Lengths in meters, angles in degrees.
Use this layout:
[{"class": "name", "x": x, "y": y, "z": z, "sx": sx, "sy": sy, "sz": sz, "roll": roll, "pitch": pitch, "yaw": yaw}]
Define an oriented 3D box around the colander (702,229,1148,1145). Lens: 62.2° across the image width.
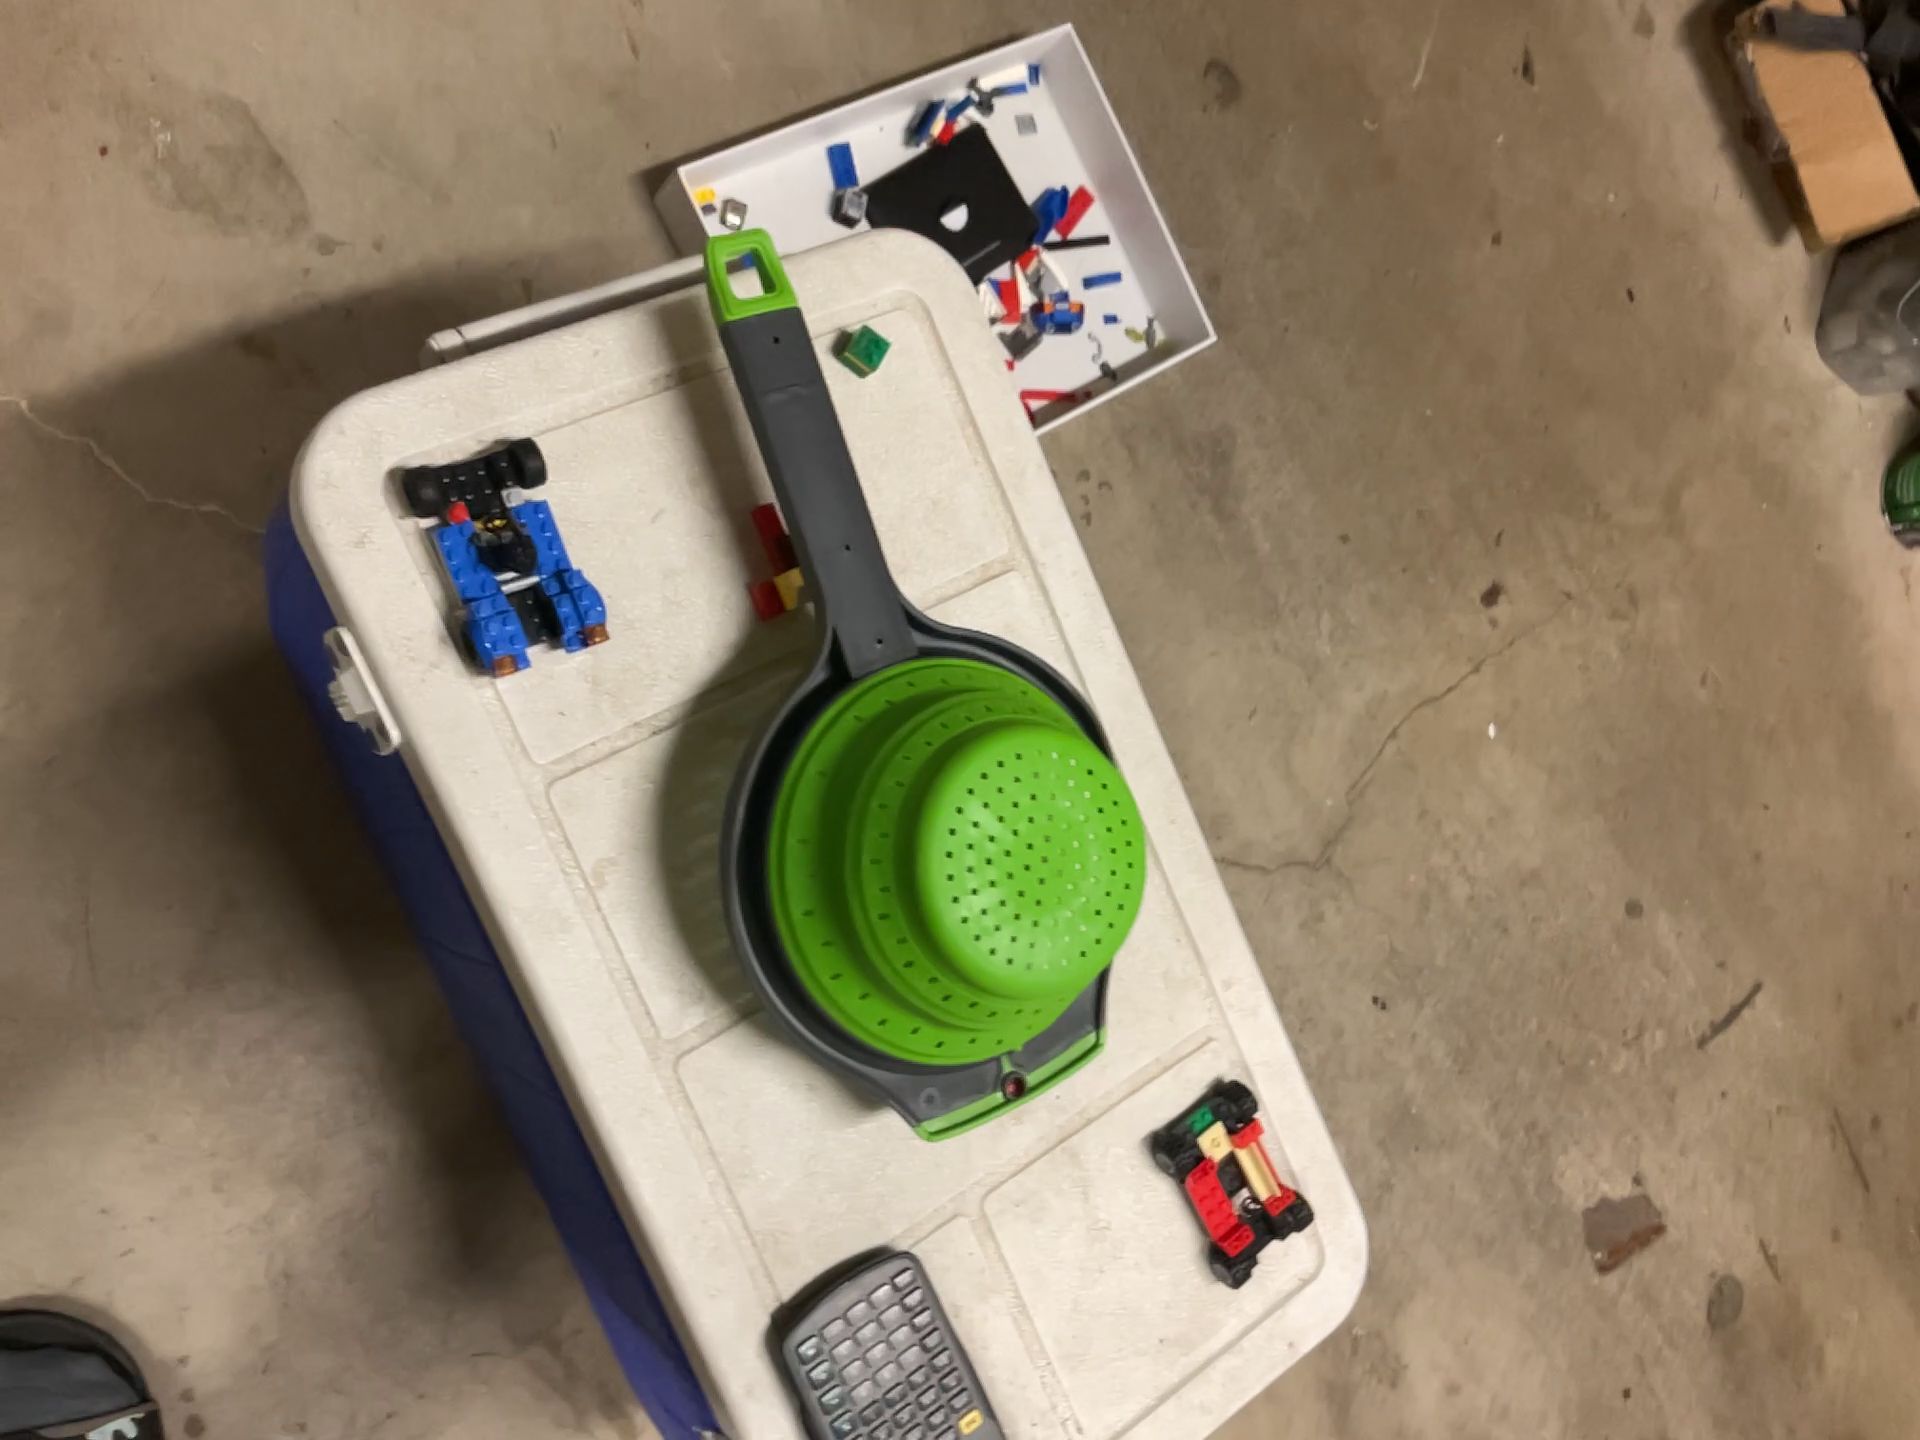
[{"class": "colander", "x": -0.017, "y": -0.019, "z": 0.655, "sx": 0.204, "sy": 0.094, "sz": 0.397, "roll": -21, "pitch": 96, "yaw": -29}]
